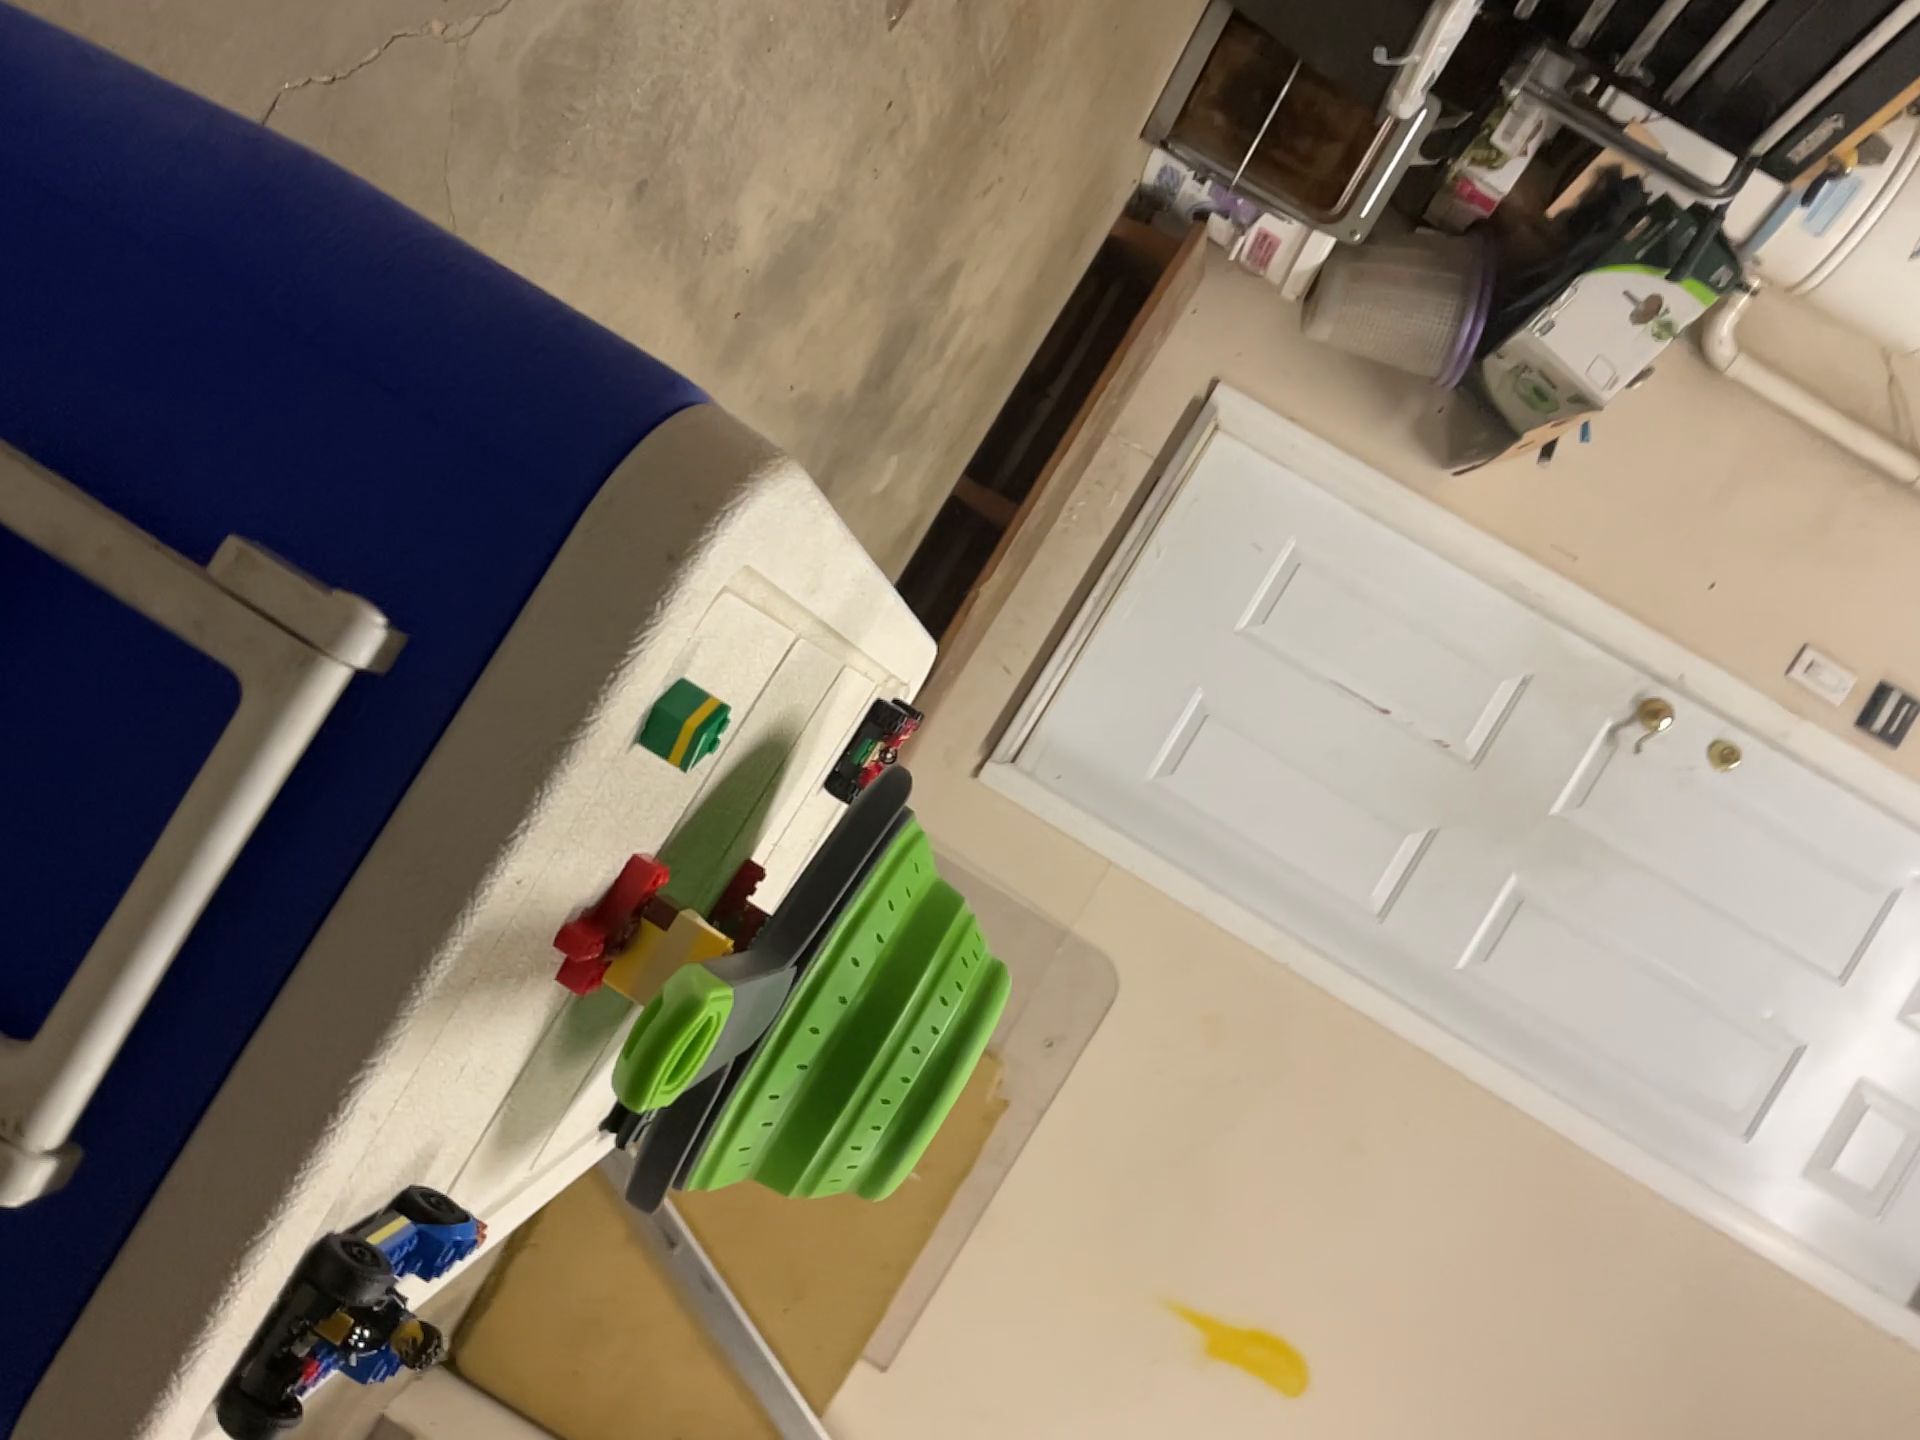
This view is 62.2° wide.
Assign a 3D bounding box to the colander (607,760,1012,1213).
[{"bbox_3d":[-0.043,0.117,0.569,0.204,0.094,0.397,-59,177,-6],"label":"colander"}]
